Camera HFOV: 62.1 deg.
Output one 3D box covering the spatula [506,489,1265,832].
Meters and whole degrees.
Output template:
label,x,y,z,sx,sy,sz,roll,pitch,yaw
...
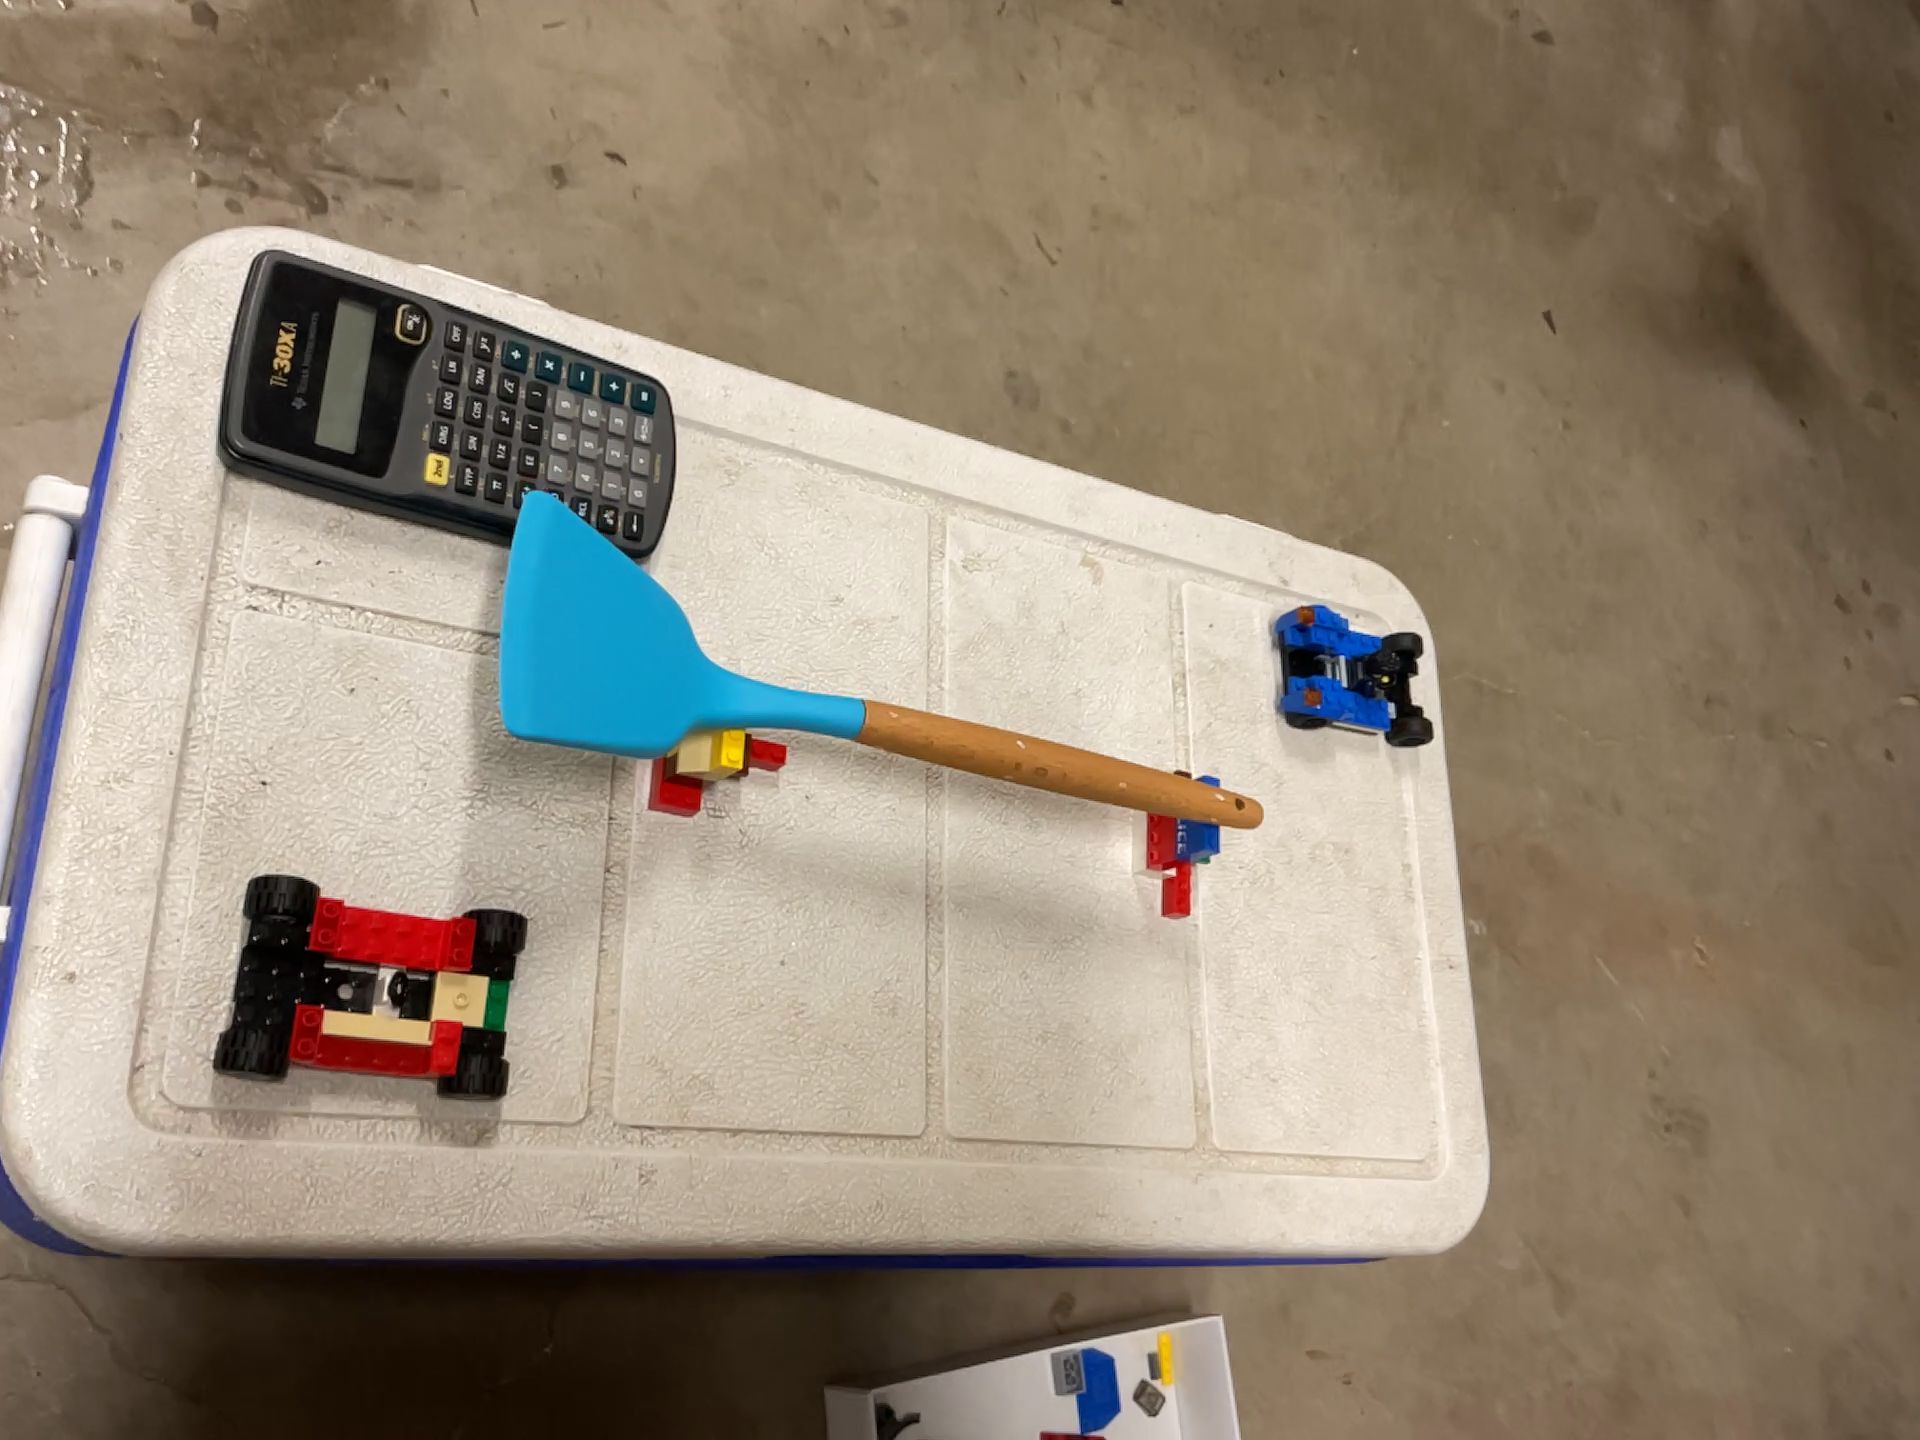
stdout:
label,x,y,z,sx,sy,sz,roll,pitch,yaw
spatula,-0.008,0.004,0.562,0.317,0.044,0.082,14,65,-29
